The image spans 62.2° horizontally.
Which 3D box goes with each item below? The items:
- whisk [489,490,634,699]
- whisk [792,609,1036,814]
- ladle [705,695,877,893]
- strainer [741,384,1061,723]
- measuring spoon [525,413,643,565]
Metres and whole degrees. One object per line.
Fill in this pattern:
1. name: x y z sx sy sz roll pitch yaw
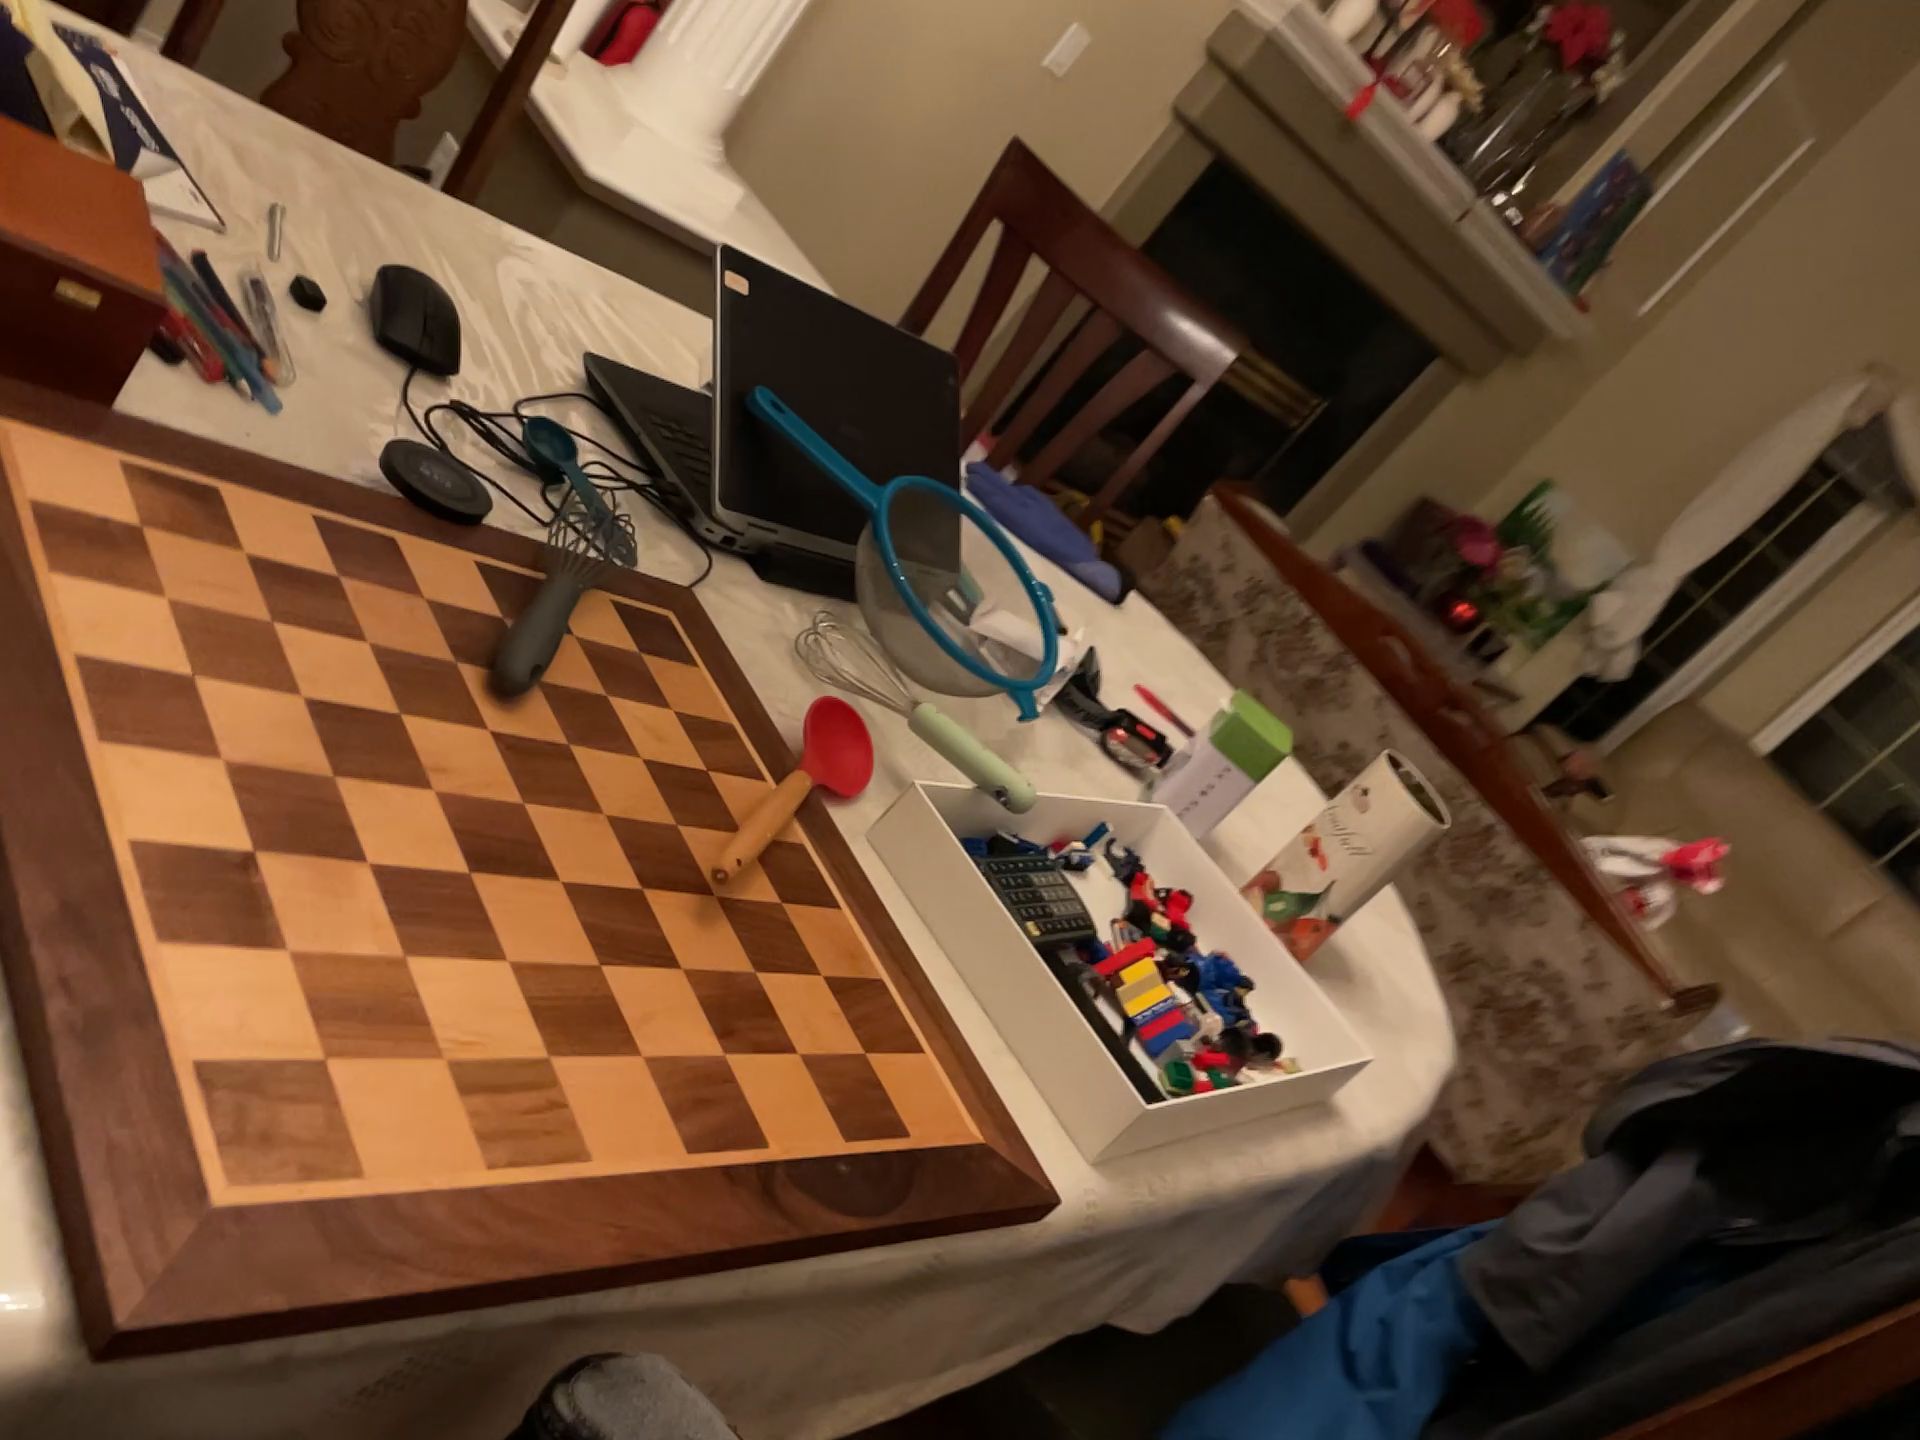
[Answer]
1. whisk: -0.235 -0.075 0.930 0.055 0.055 0.239 23 28 -10
2. whisk: -0.034 -0.007 1.131 0.059 0.057 0.247 -24 49 -36
3. ladle: -0.099 0.045 0.947 0.069 0.031 0.315 62 14 -8
4. strainer: -0.066 -0.132 1.297 0.340 0.095 0.211 40 33 -21
5. measuring spoon: -0.266 -0.158 1.118 0.128 0.021 0.042 56 29 2
